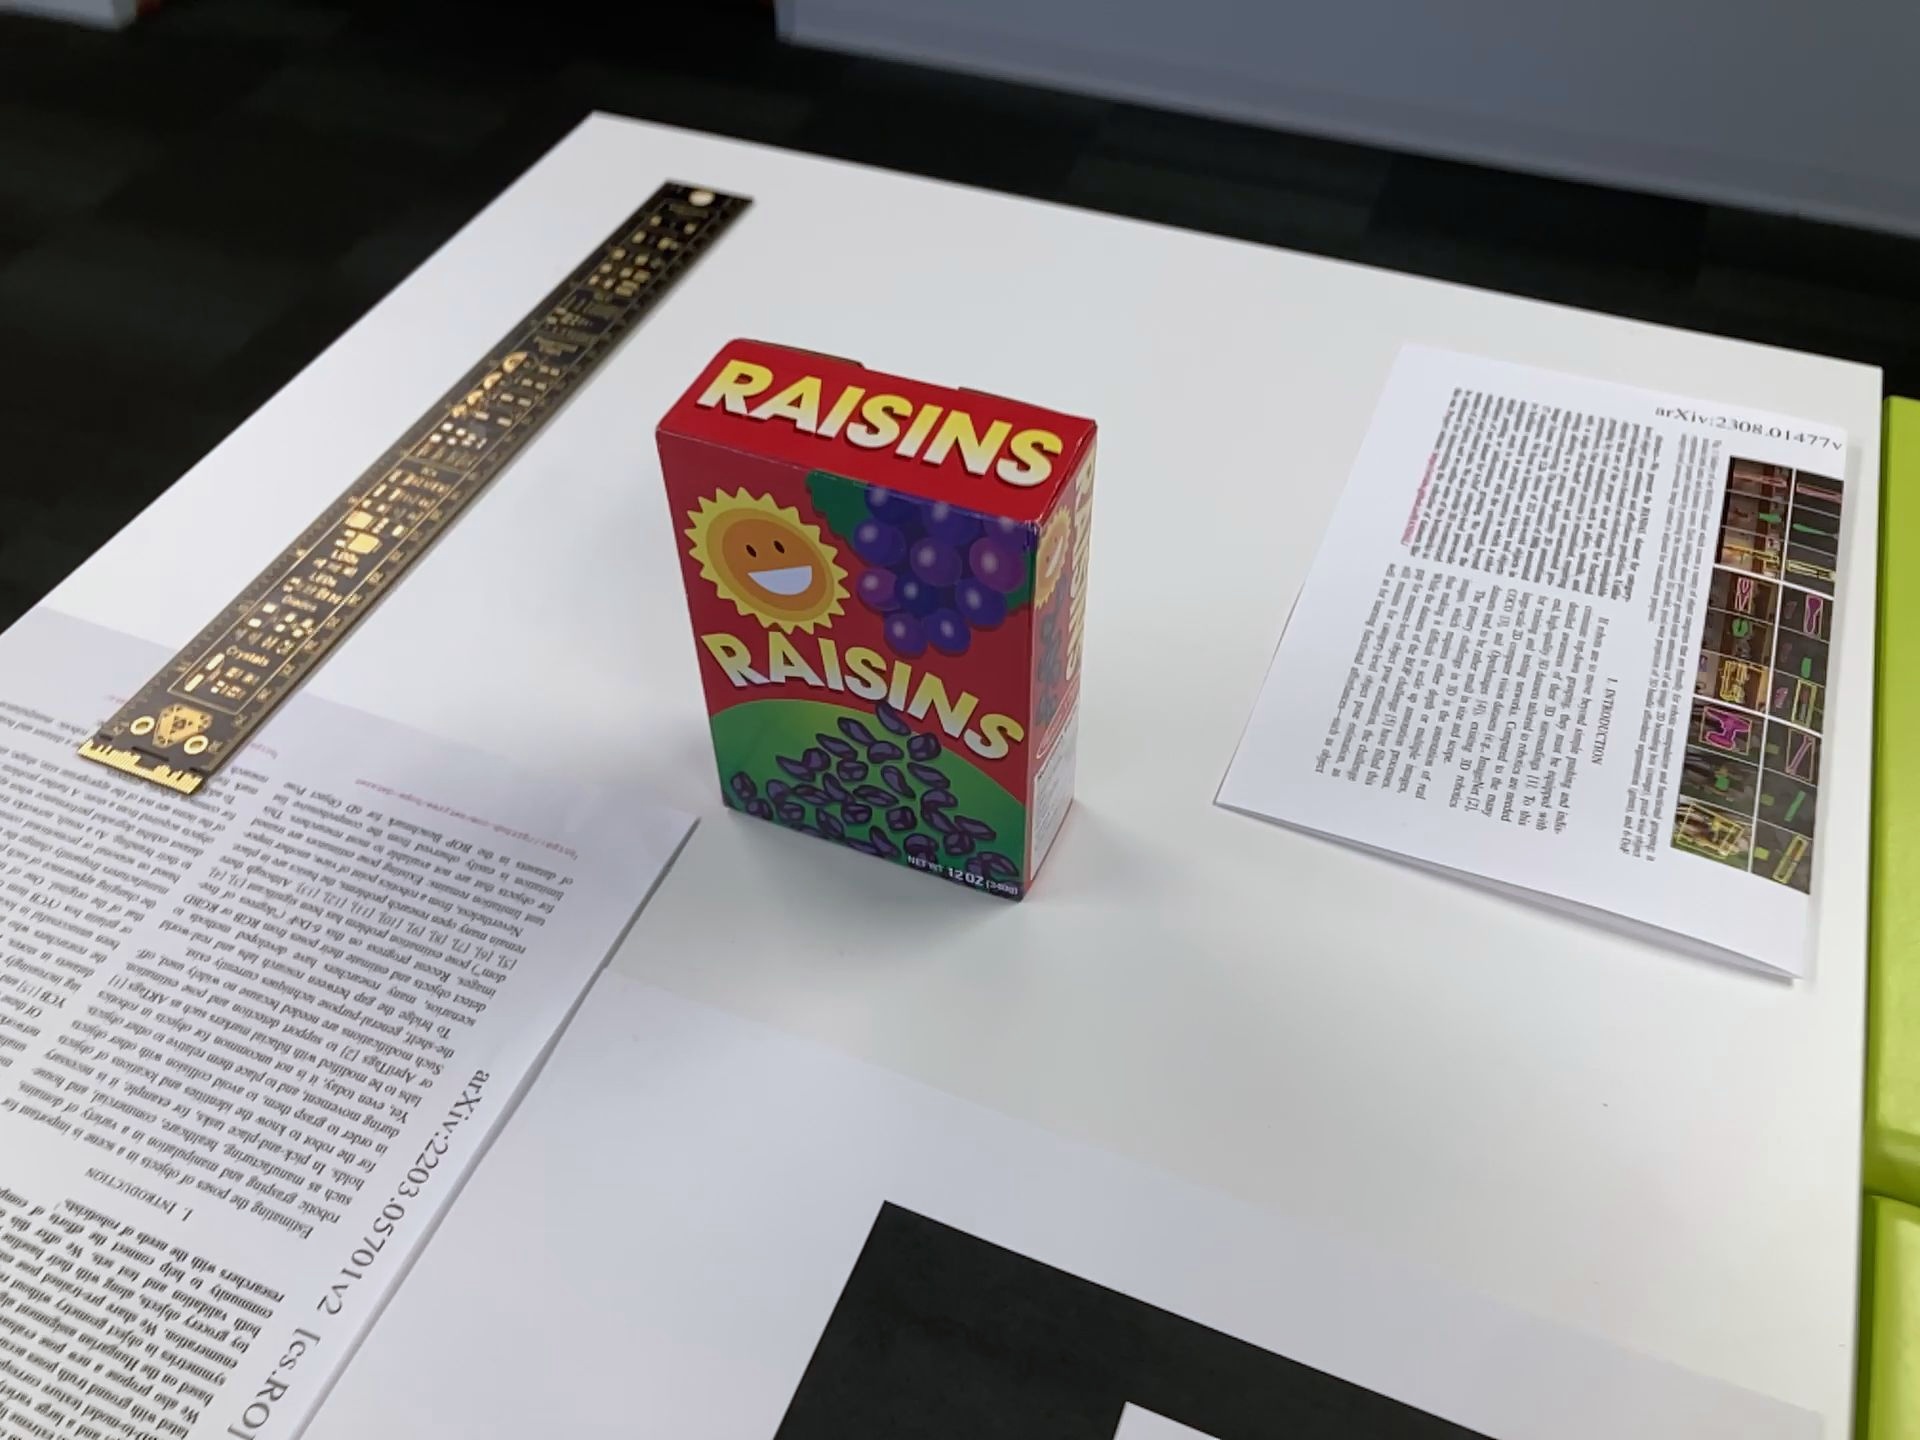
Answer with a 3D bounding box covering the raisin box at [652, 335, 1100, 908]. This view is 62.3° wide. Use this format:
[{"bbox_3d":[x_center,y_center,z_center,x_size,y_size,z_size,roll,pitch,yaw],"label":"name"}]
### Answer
[{"bbox_3d":[-0.016,-0.019,0.364,0.086,0.123,0.040,17,50,16],"label":"raisin box"}]
